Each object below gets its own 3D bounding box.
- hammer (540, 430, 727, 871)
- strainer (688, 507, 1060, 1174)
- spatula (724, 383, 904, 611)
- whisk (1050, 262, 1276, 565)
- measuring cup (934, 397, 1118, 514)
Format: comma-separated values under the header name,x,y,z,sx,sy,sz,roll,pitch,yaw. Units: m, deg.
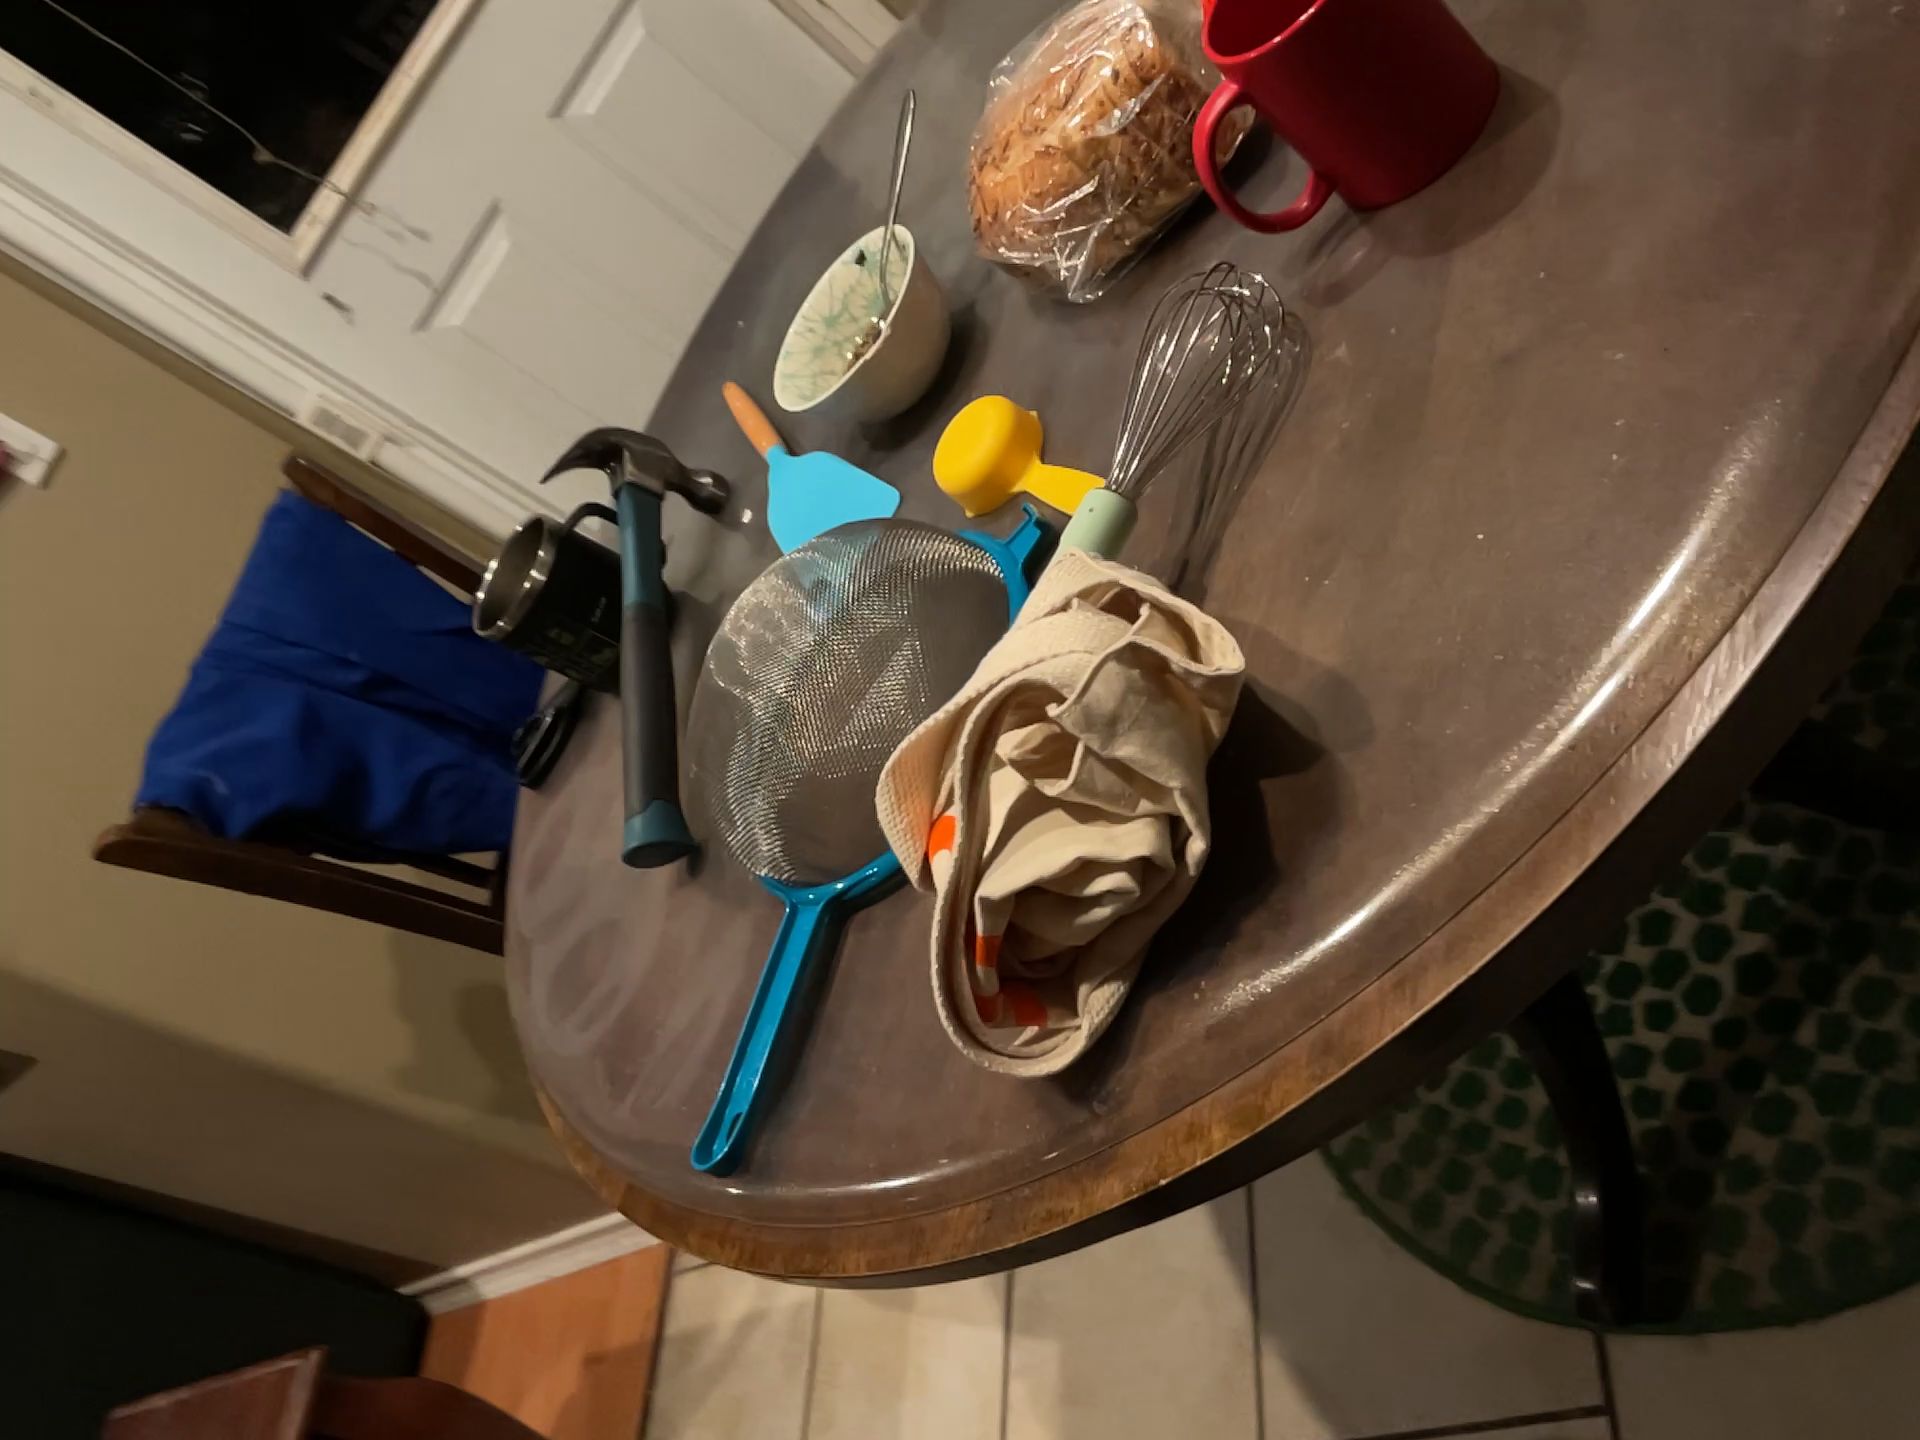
name,x,y,z,sx,sy,sz,roll,pitch,yaw
hammer,-0.190,-0.052,0.977,0.033,0.128,0.331,-39,46,33
strainer,-0.085,0.034,0.755,0.211,0.095,0.340,-13,49,49
spatula,-0.113,-0.167,1.028,0.082,0.044,0.318,-53,29,11
whisk,0.067,-0.097,0.672,0.059,0.057,0.246,19,68,26
measuring cup,0.032,-0.125,0.785,0.062,0.029,0.156,-58,31,2
